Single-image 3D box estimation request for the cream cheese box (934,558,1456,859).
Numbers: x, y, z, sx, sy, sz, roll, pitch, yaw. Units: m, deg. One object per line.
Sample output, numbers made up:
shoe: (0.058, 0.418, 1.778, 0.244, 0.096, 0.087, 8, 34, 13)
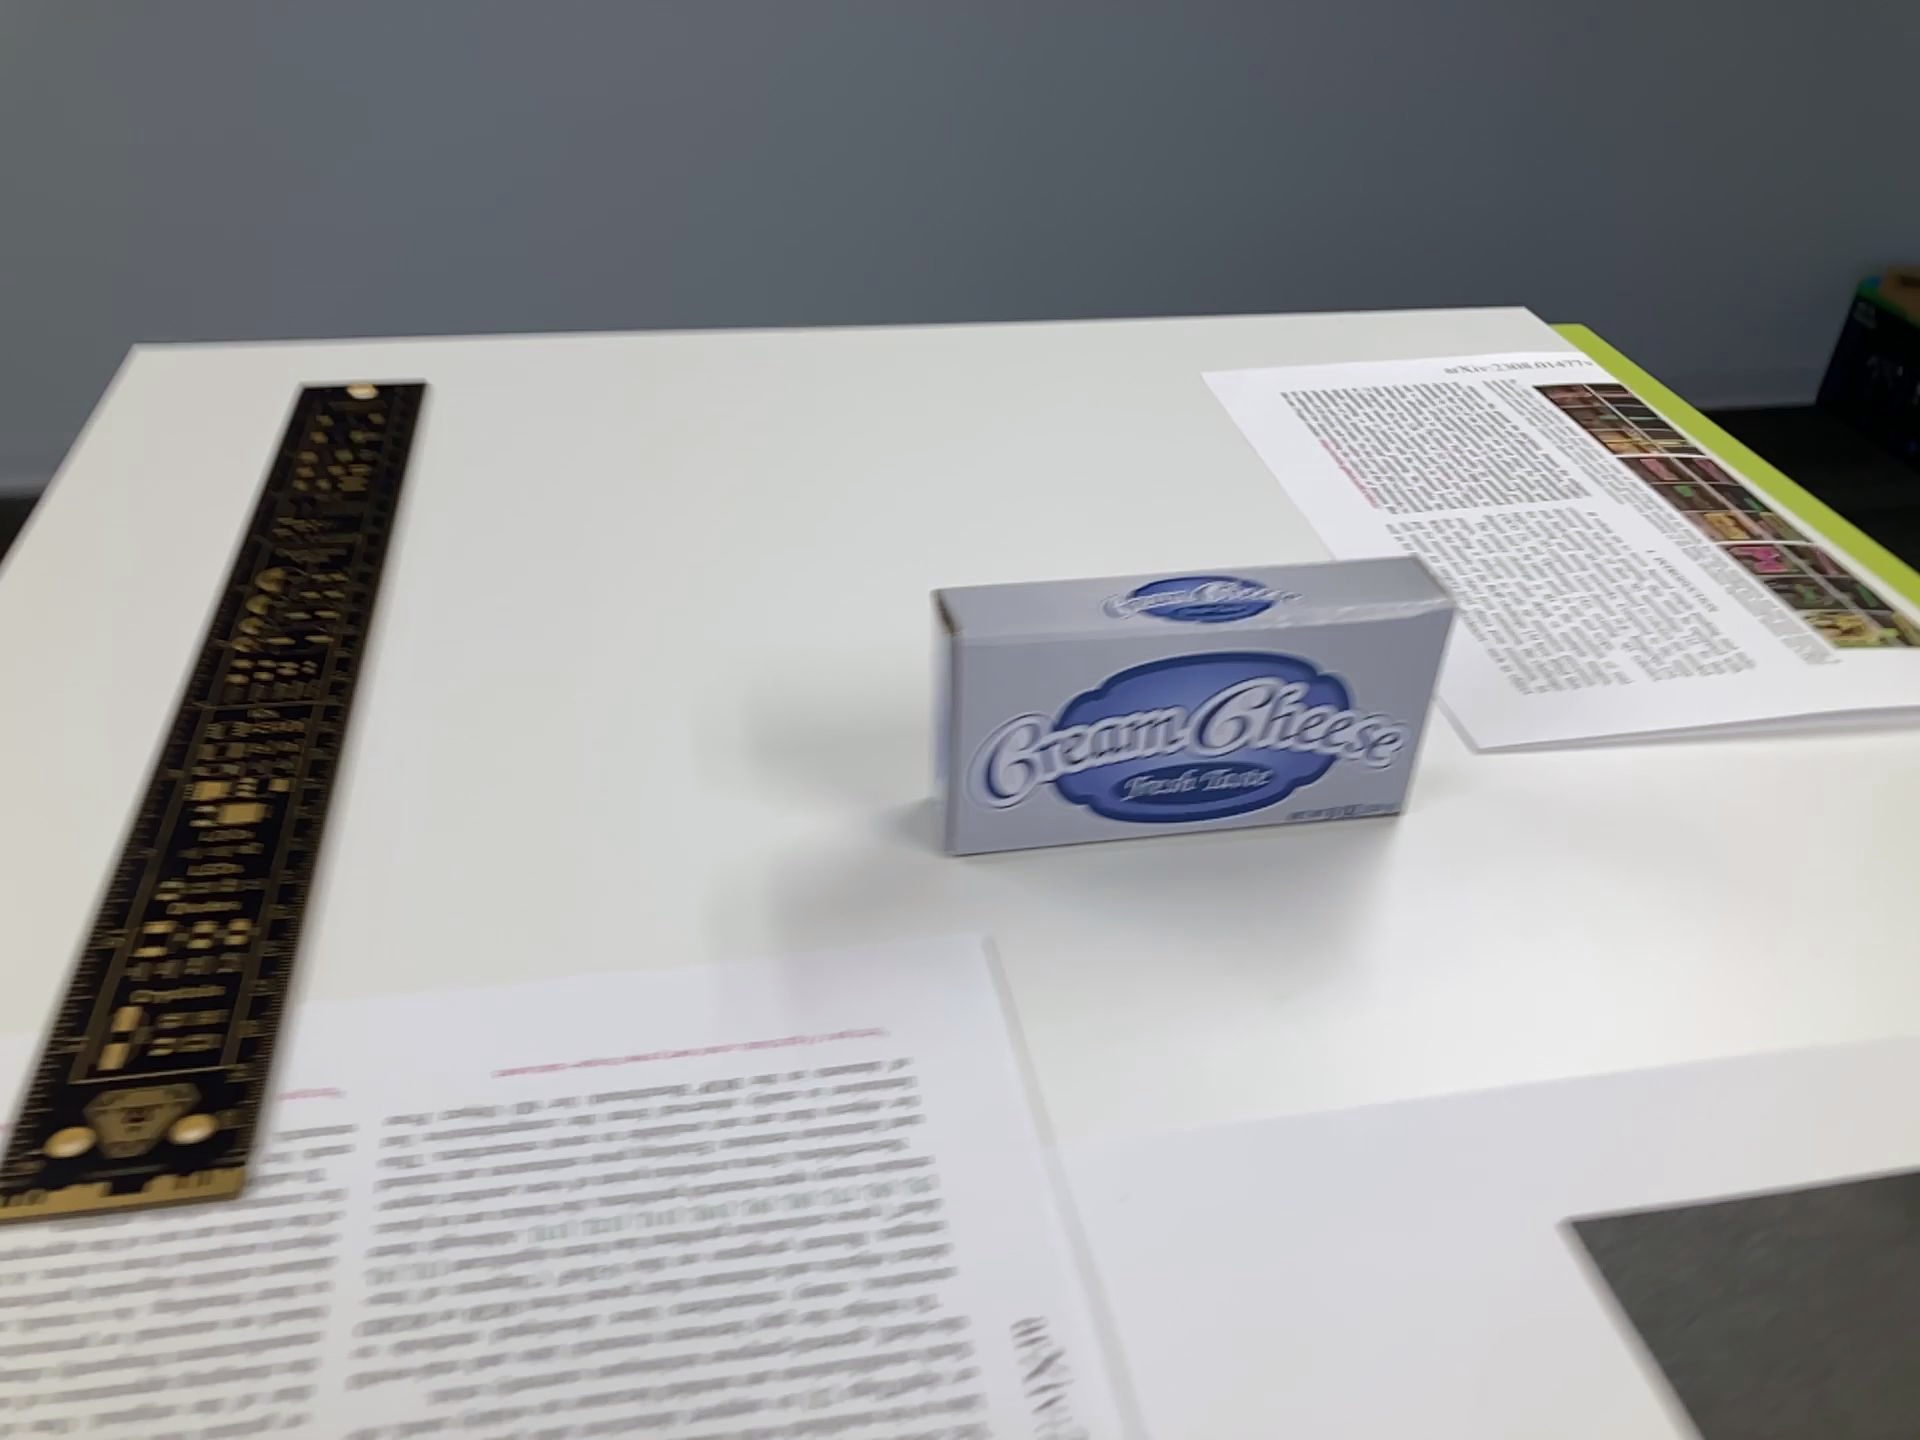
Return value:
cream cheese box: (0.046, -0.003, 0.329, 0.104, 0.053, 0.024, -4, 33, -10)
